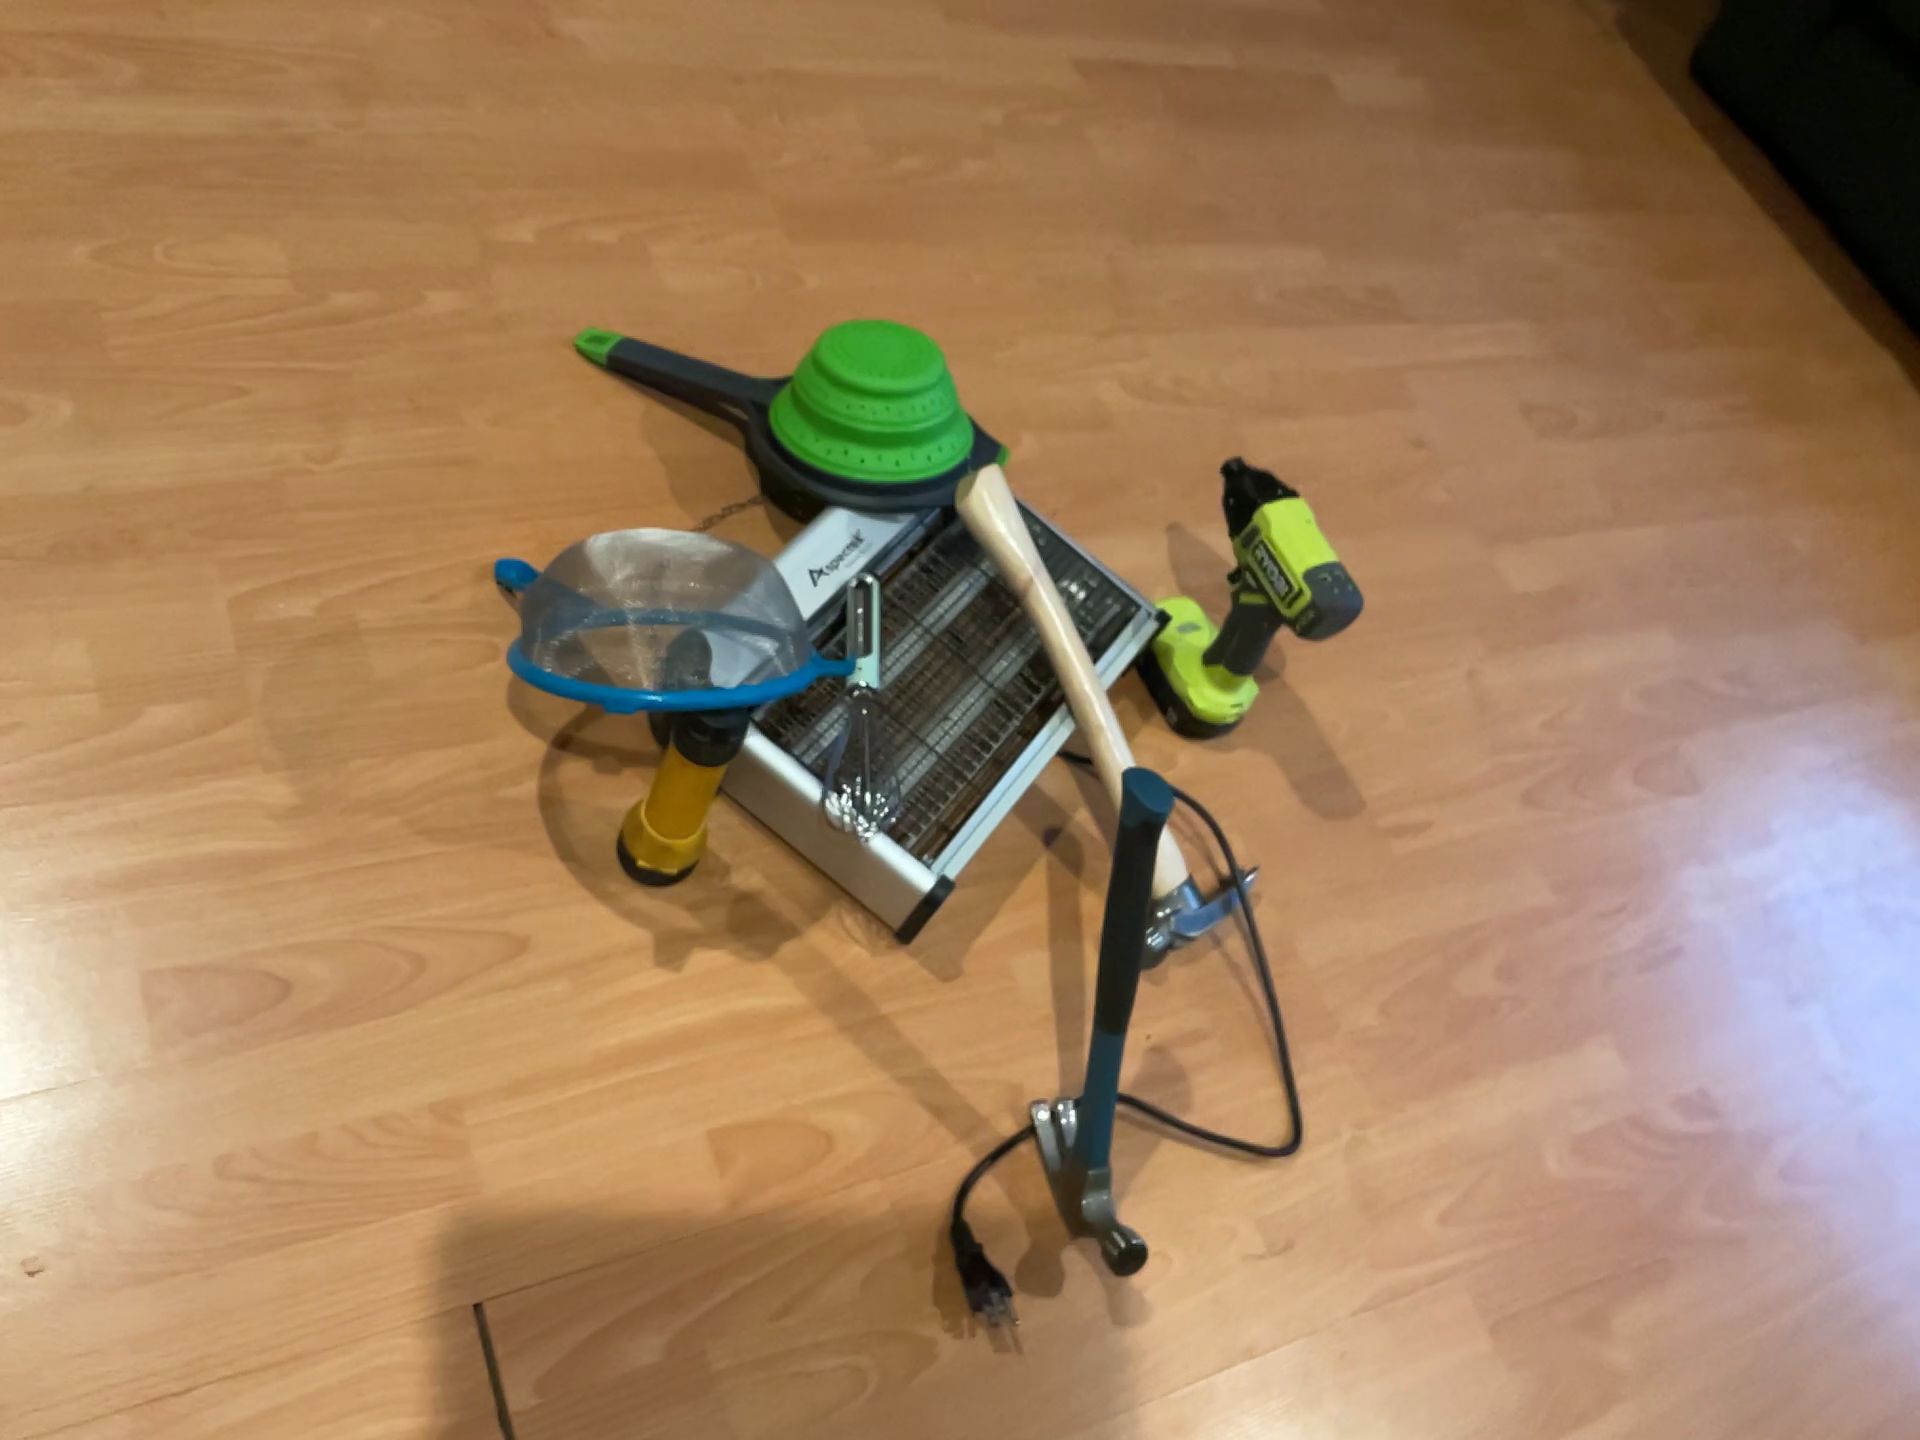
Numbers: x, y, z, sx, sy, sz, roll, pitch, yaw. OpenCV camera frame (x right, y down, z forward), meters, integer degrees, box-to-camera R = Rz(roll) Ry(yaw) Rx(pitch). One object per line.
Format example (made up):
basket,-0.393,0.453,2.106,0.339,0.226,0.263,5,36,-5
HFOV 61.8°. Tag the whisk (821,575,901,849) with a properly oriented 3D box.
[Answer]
whisk,-0.073,-0.013,1.188,0.058,0.059,0.246,-7,53,7

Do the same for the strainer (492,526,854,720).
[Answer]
strainer,-0.241,-0.100,1.131,0.211,0.095,0.340,-12,27,-41

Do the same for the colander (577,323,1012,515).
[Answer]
colander,-0.146,-0.295,1.362,0.397,0.094,0.205,20,43,11

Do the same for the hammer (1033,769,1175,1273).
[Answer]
hammer,0.105,0.195,1.077,0.033,0.330,0.128,-2,19,-25

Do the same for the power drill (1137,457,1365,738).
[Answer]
power drill,0.234,-0.101,1.372,0.080,0.223,0.171,-13,64,-31

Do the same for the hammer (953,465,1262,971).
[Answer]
hammer,0.109,-0.014,1.279,0.146,0.038,0.410,-30,97,-35
